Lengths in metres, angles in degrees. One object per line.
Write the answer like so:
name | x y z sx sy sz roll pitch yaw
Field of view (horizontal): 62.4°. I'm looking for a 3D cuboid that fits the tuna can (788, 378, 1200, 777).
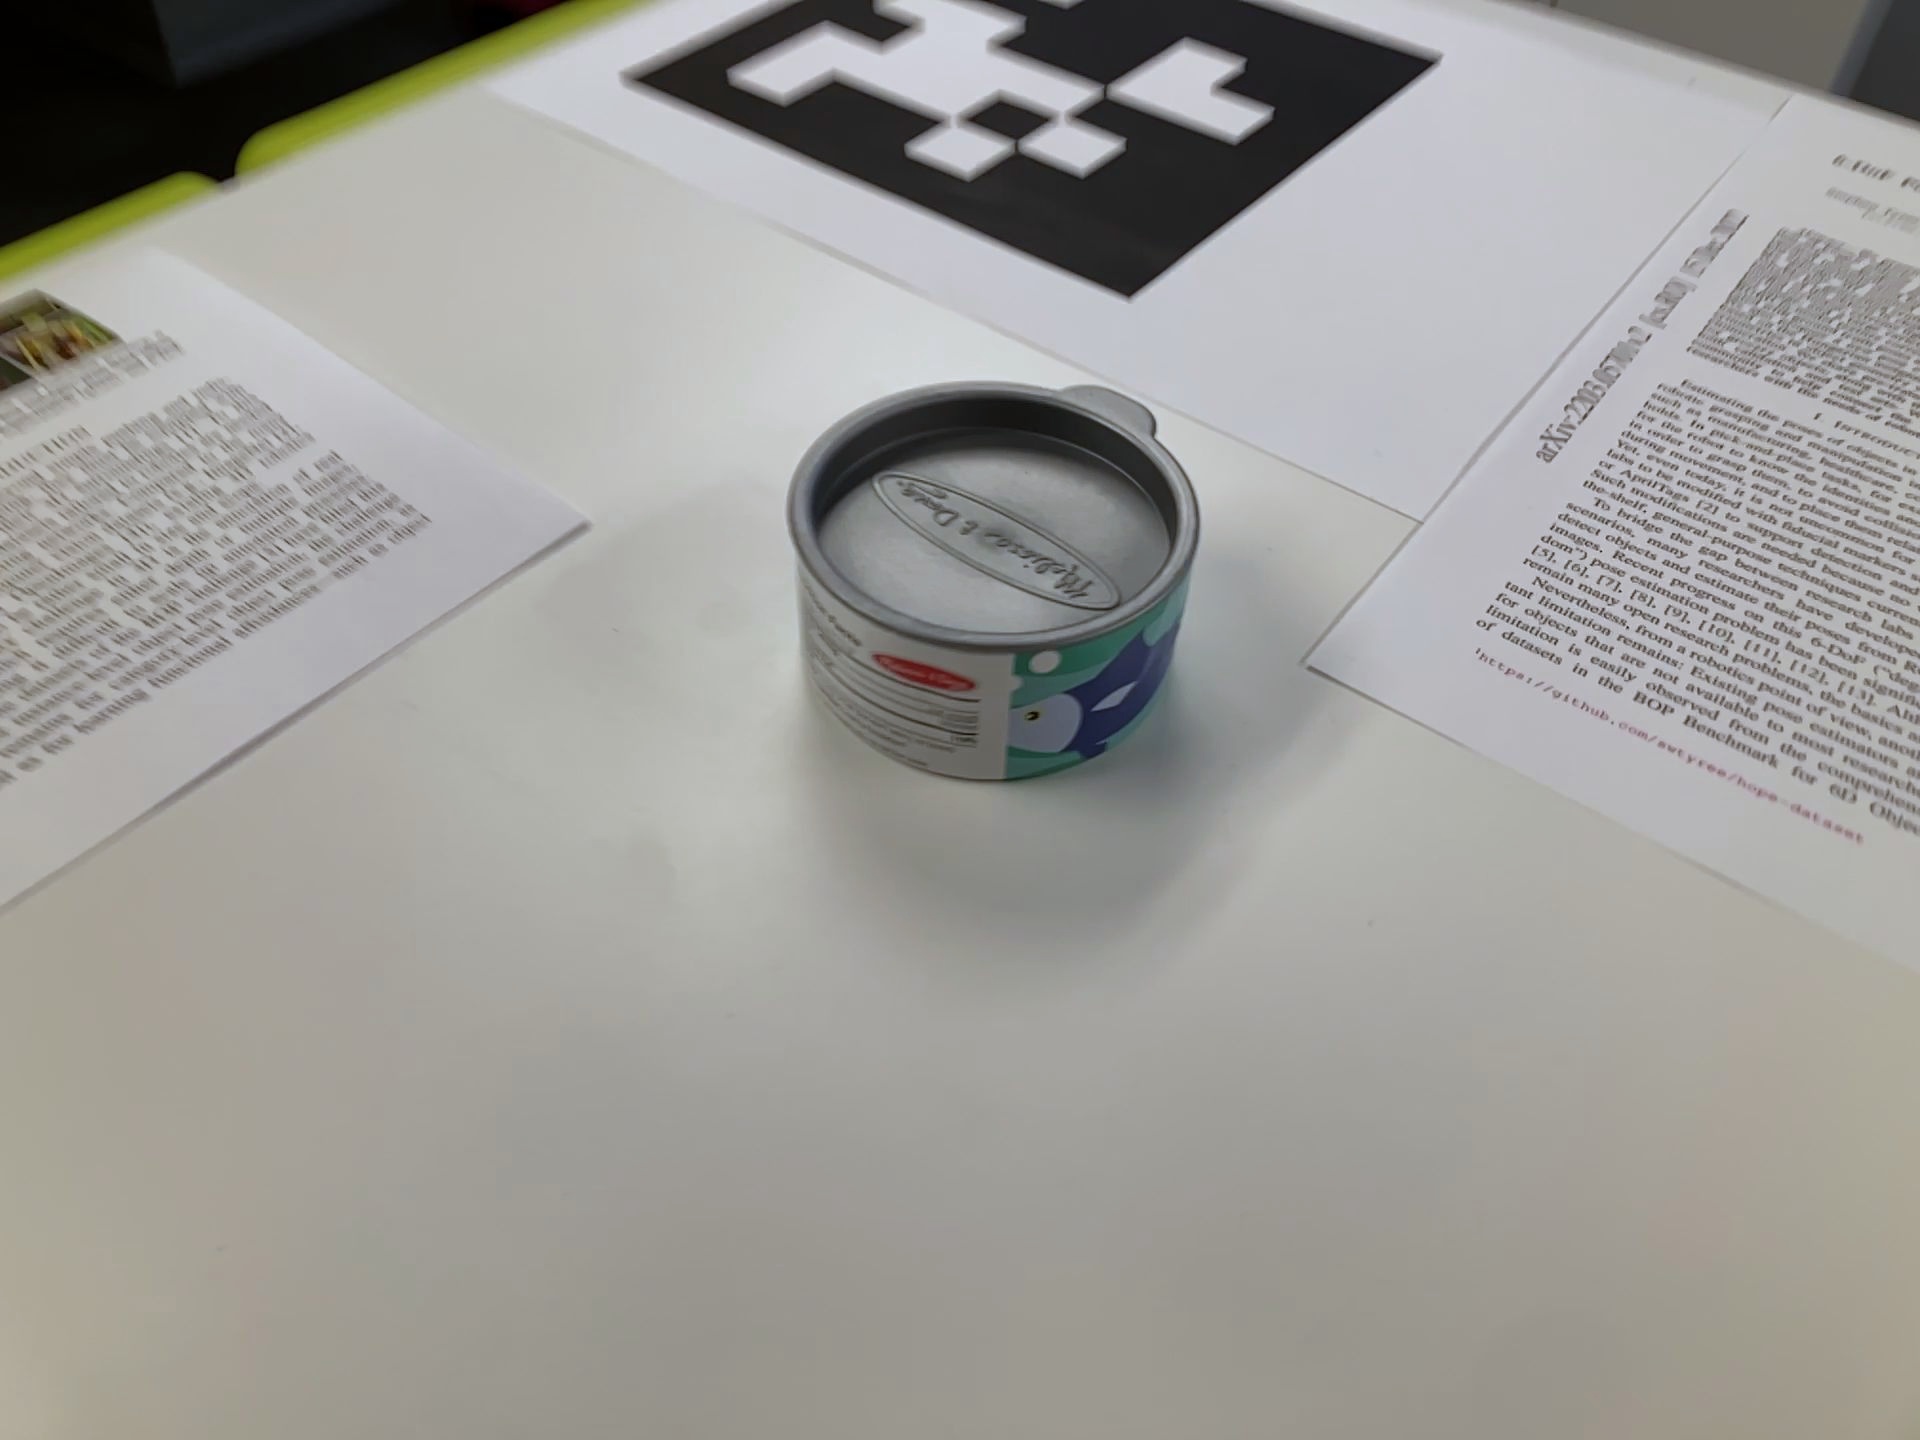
tuna can | 0.007 -0.026 0.267 0.071 0.033 0.071 1 46 -1
